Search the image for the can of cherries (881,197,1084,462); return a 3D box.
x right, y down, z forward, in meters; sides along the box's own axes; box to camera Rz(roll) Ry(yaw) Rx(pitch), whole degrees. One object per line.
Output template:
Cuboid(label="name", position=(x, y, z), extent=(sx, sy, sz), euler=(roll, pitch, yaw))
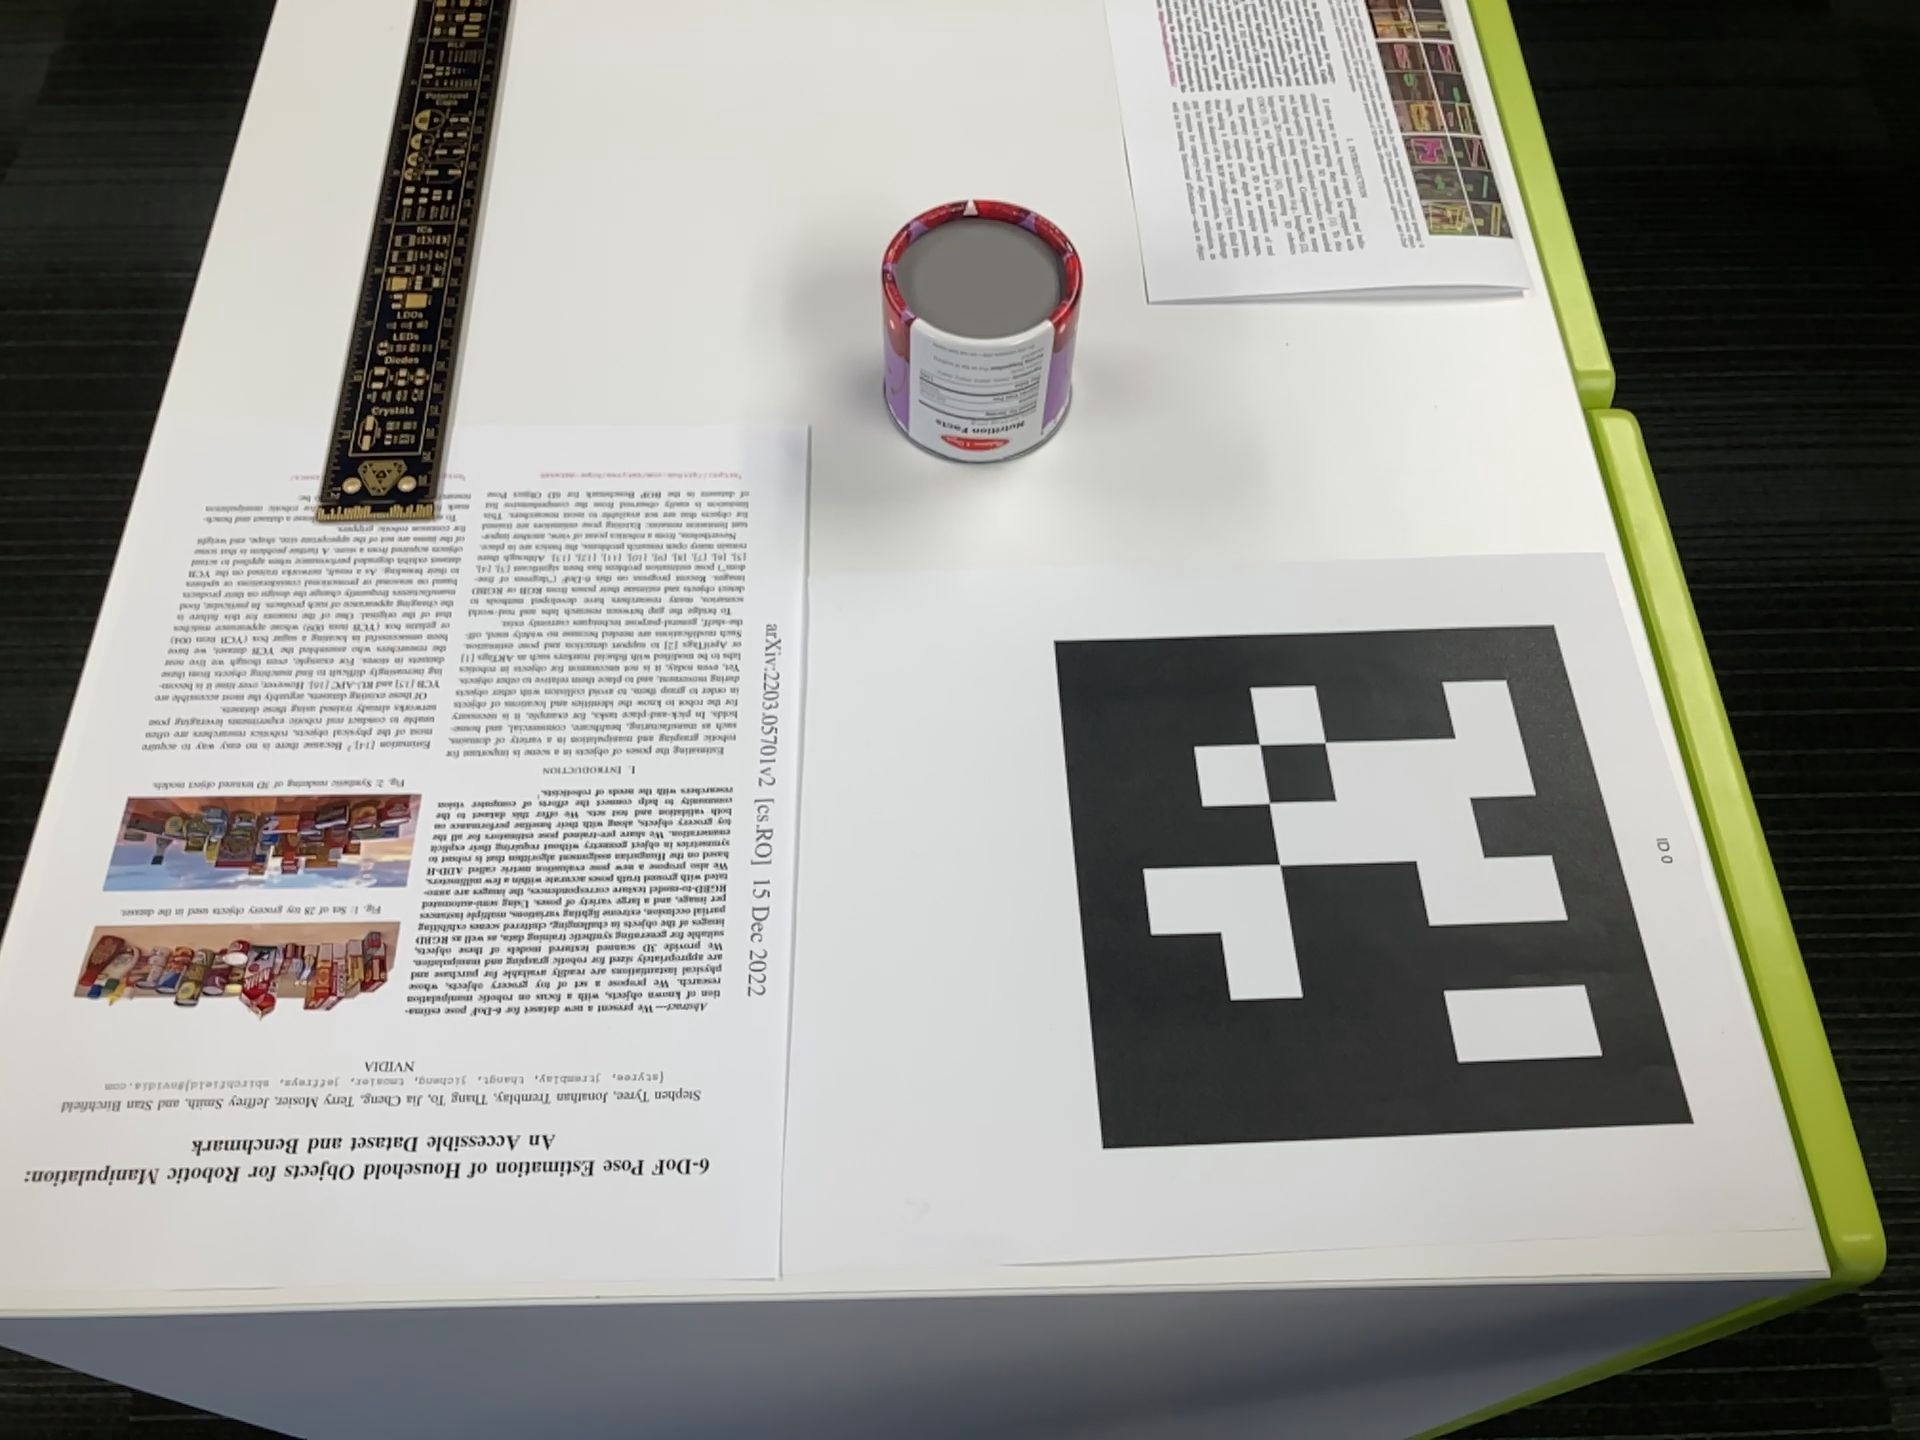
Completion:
Cuboid(label="can of cherries", position=(0.006, -0.133, 0.532), extent=(0.071, 0.058, 0.071), euler=(0, 60, 0))
